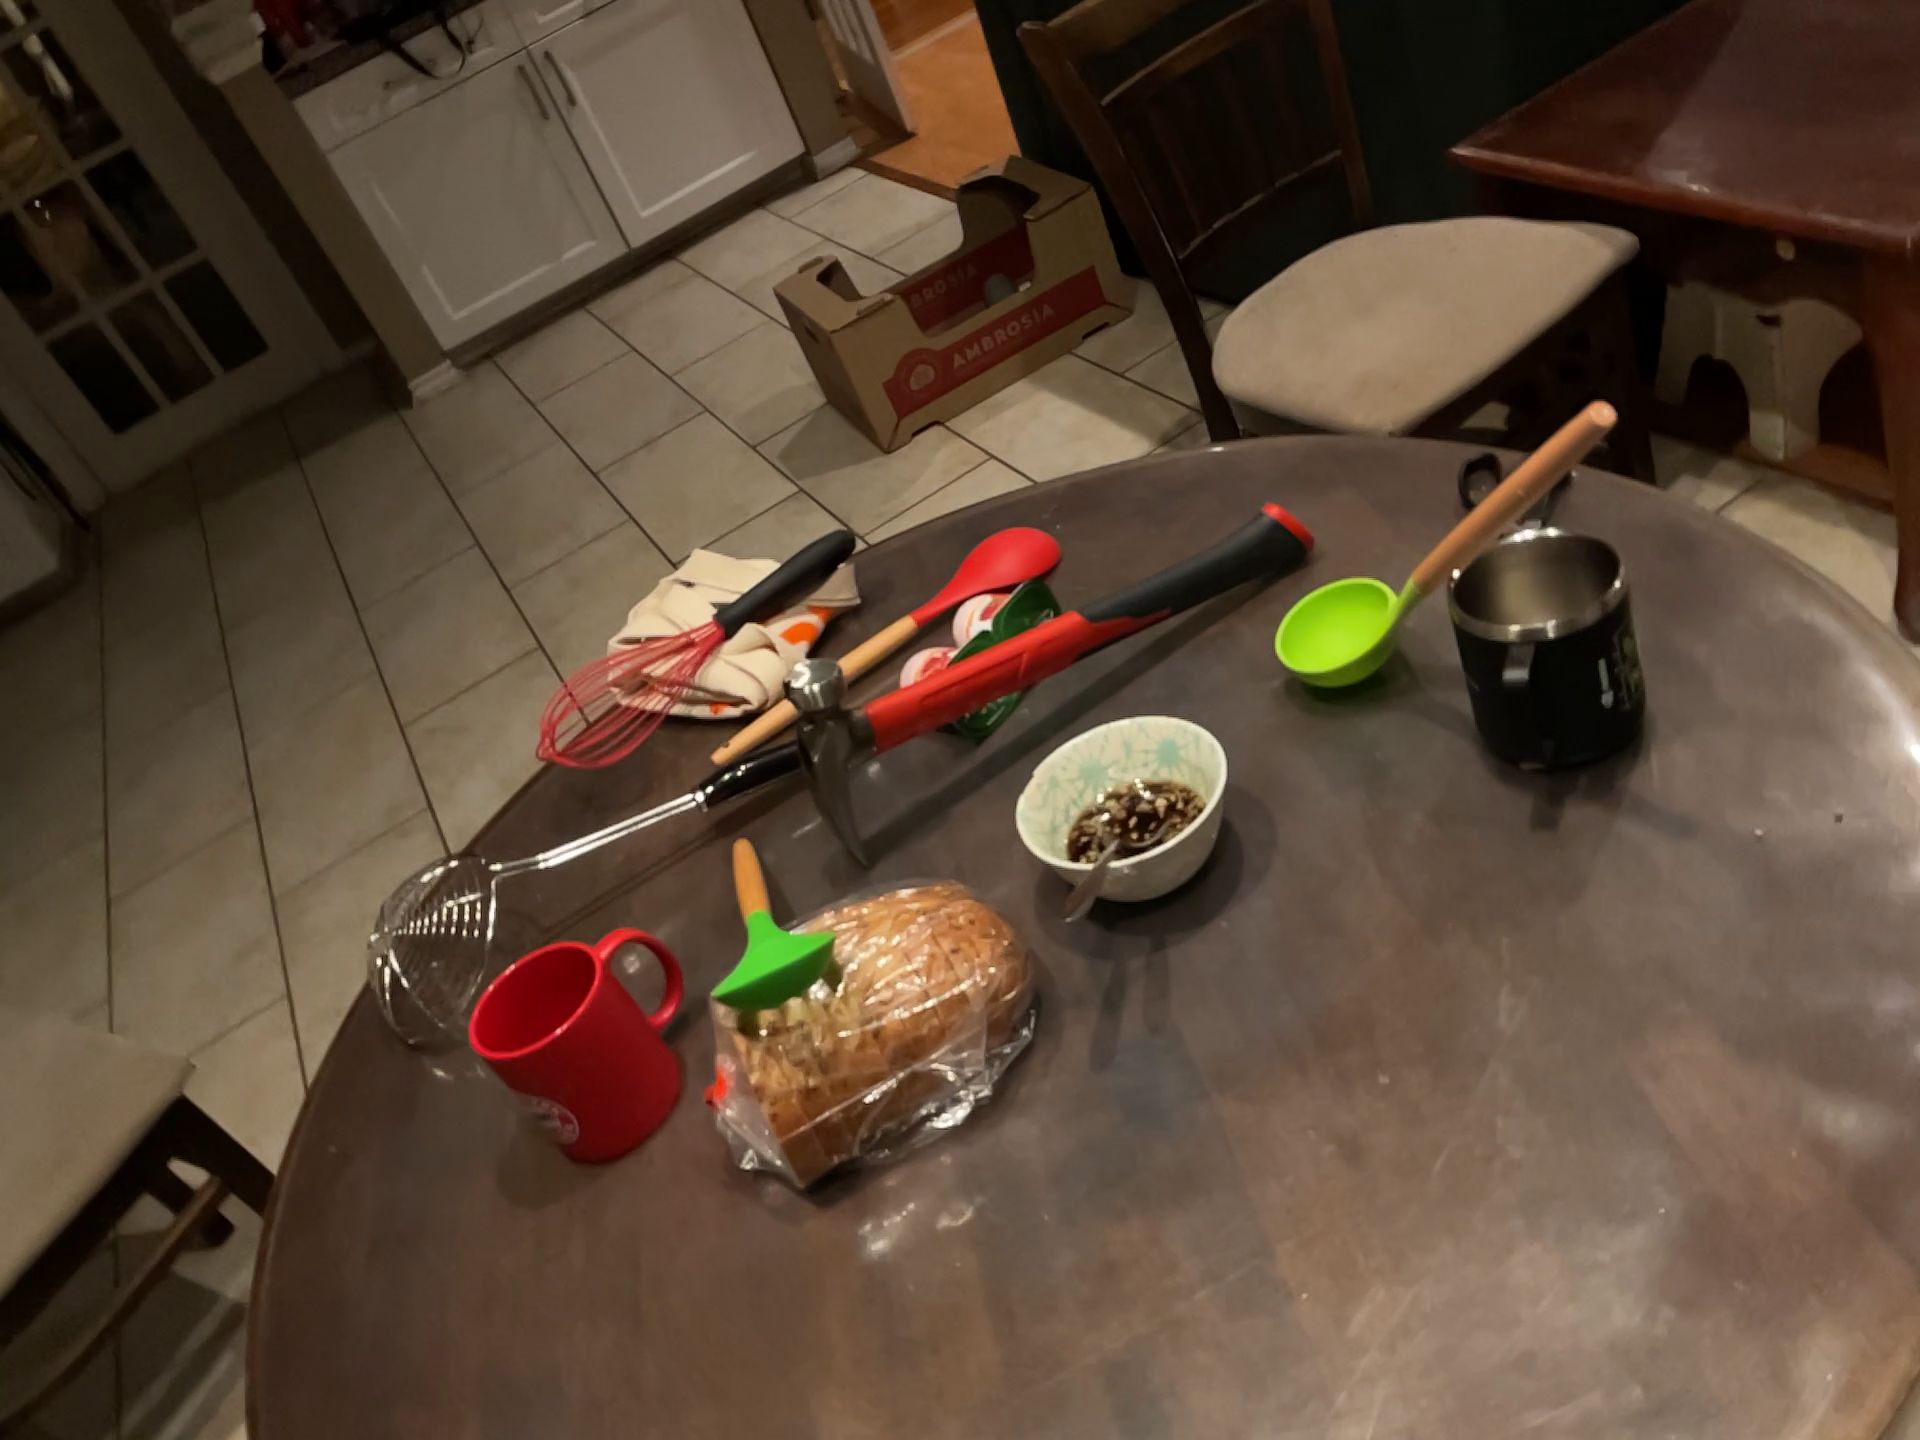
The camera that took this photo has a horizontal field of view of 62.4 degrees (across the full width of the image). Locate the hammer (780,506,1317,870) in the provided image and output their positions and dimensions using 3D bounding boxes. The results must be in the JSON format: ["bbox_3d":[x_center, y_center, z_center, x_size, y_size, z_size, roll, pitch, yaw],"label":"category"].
[{"bbox_3d":[0.073,-0.038,1.040,0.386,0.143,0.038,-24,34,-19],"label":"hammer"}]

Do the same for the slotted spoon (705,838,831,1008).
[{"bbox_3d":[-0.117,0.109,0.919,0.070,0.031,0.314,-25,12,-6],"label":"slotted spoon"}]

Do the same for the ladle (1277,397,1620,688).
[{"bbox_3d":[0.251,-0.093,0.849,0.062,0.320,0.078,33,70,3],"label":"ladle"}]

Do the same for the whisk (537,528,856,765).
[{"bbox_3d":[-0.196,-0.059,1.191,0.296,0.073,0.073,-38,35,-17],"label":"whisk"}]

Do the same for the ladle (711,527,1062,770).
[{"bbox_3d":[-0.056,-0.058,1.189,0.315,0.031,0.069,-36,35,-11],"label":"ladle"}]

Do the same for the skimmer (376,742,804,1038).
[{"bbox_3d":[-0.228,0.099,1.090,0.363,0.090,0.127,-22,41,-13],"label":"skimmer"}]
